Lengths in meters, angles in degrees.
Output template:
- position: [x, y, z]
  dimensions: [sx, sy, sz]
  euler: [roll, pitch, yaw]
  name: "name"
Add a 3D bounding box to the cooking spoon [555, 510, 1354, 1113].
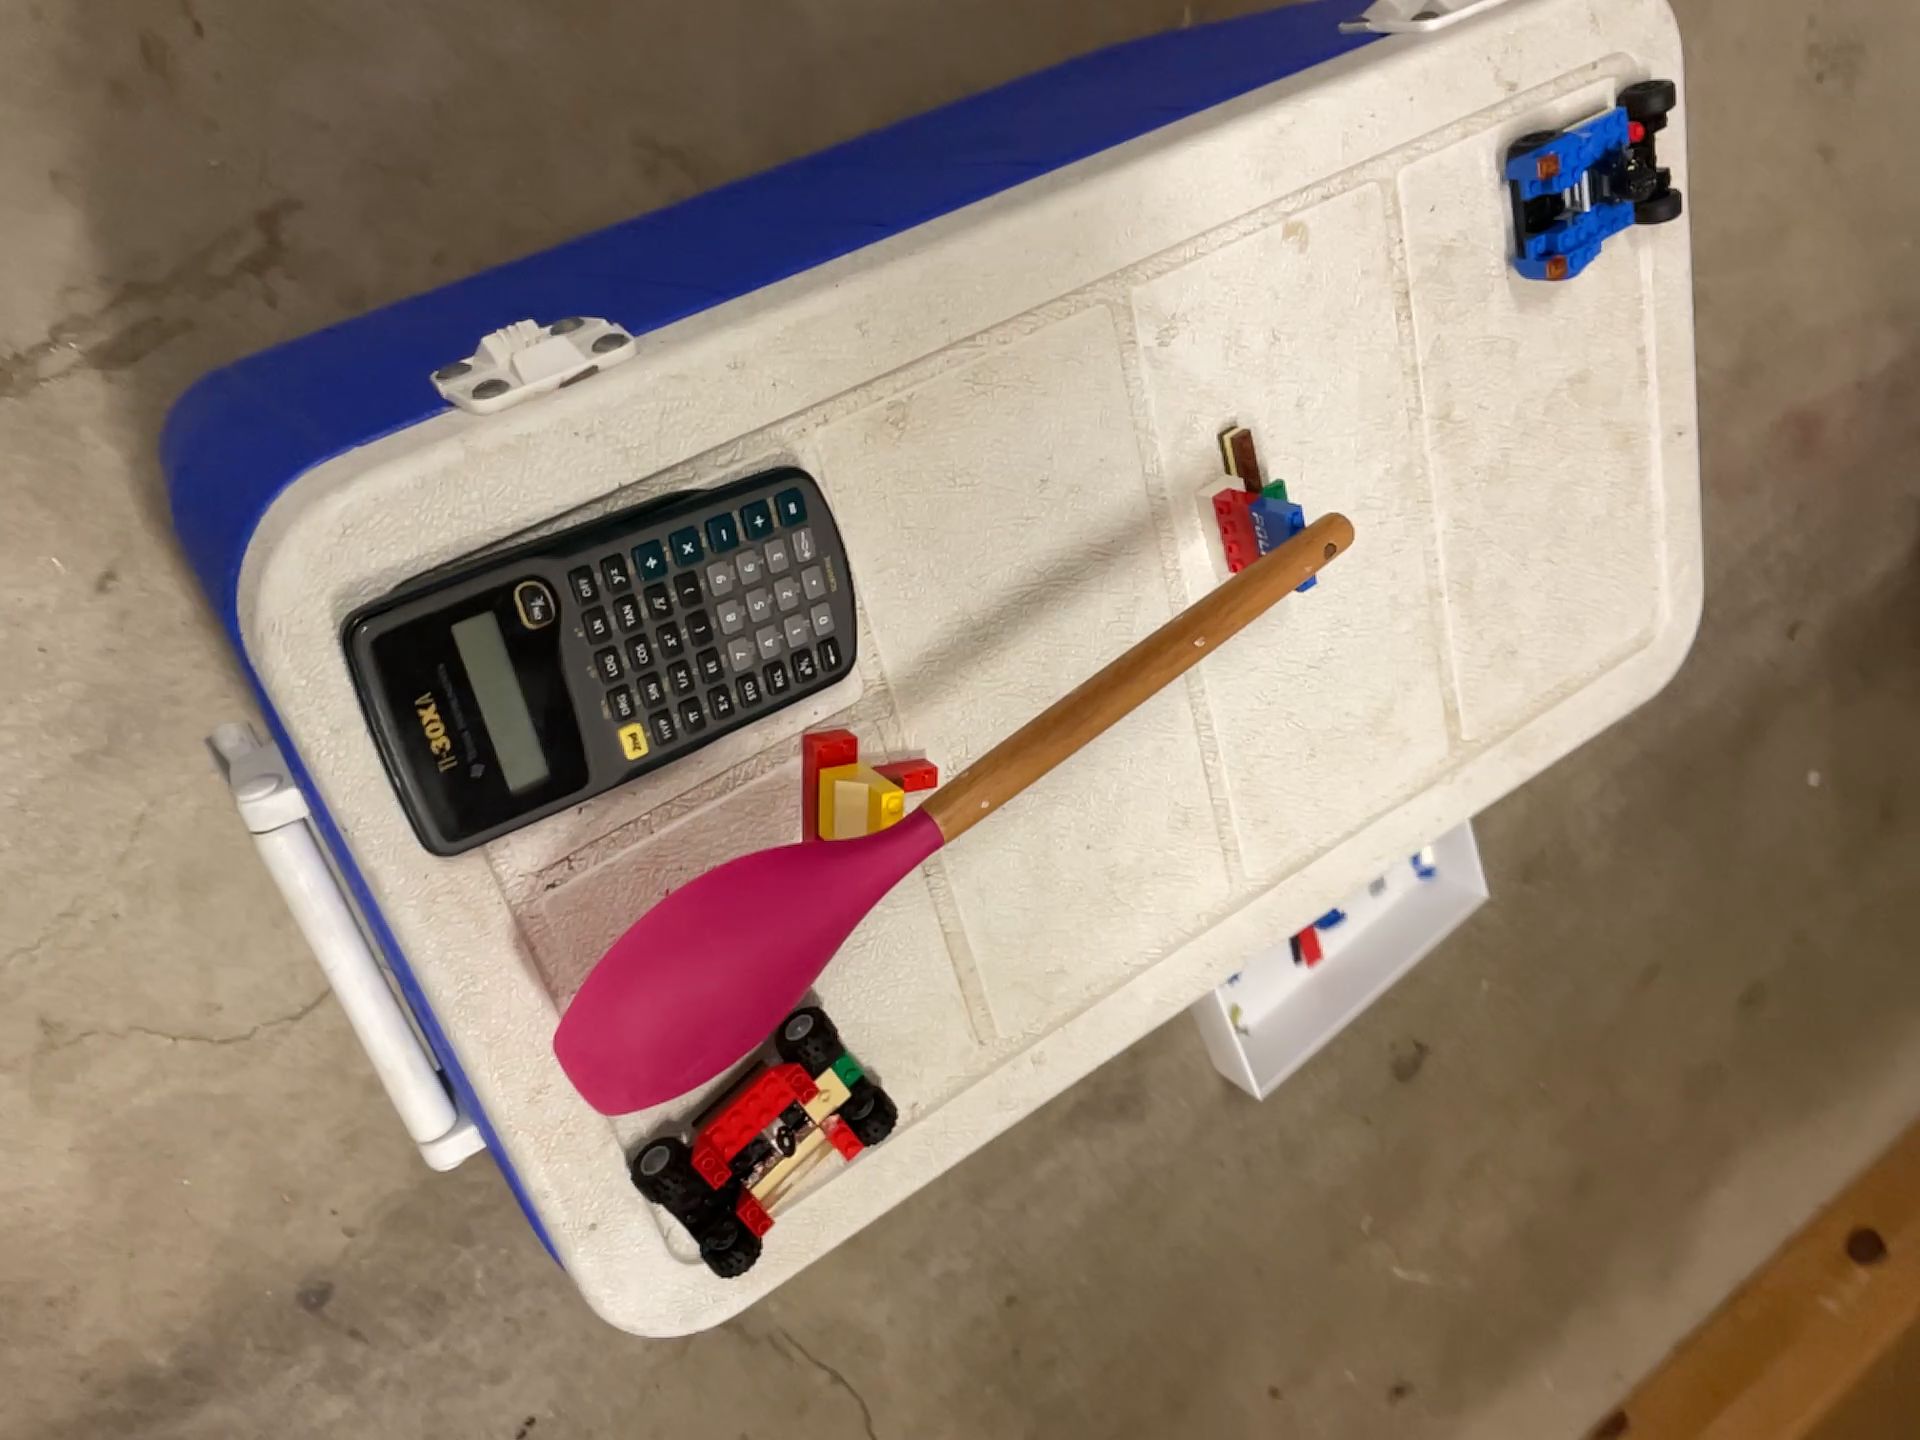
- position: [0.011, 0.019, 0.519]
  dimensions: [0.319, 0.017, 0.068]
  euler: [-36, 127, -17]
  name: "cooking spoon"
